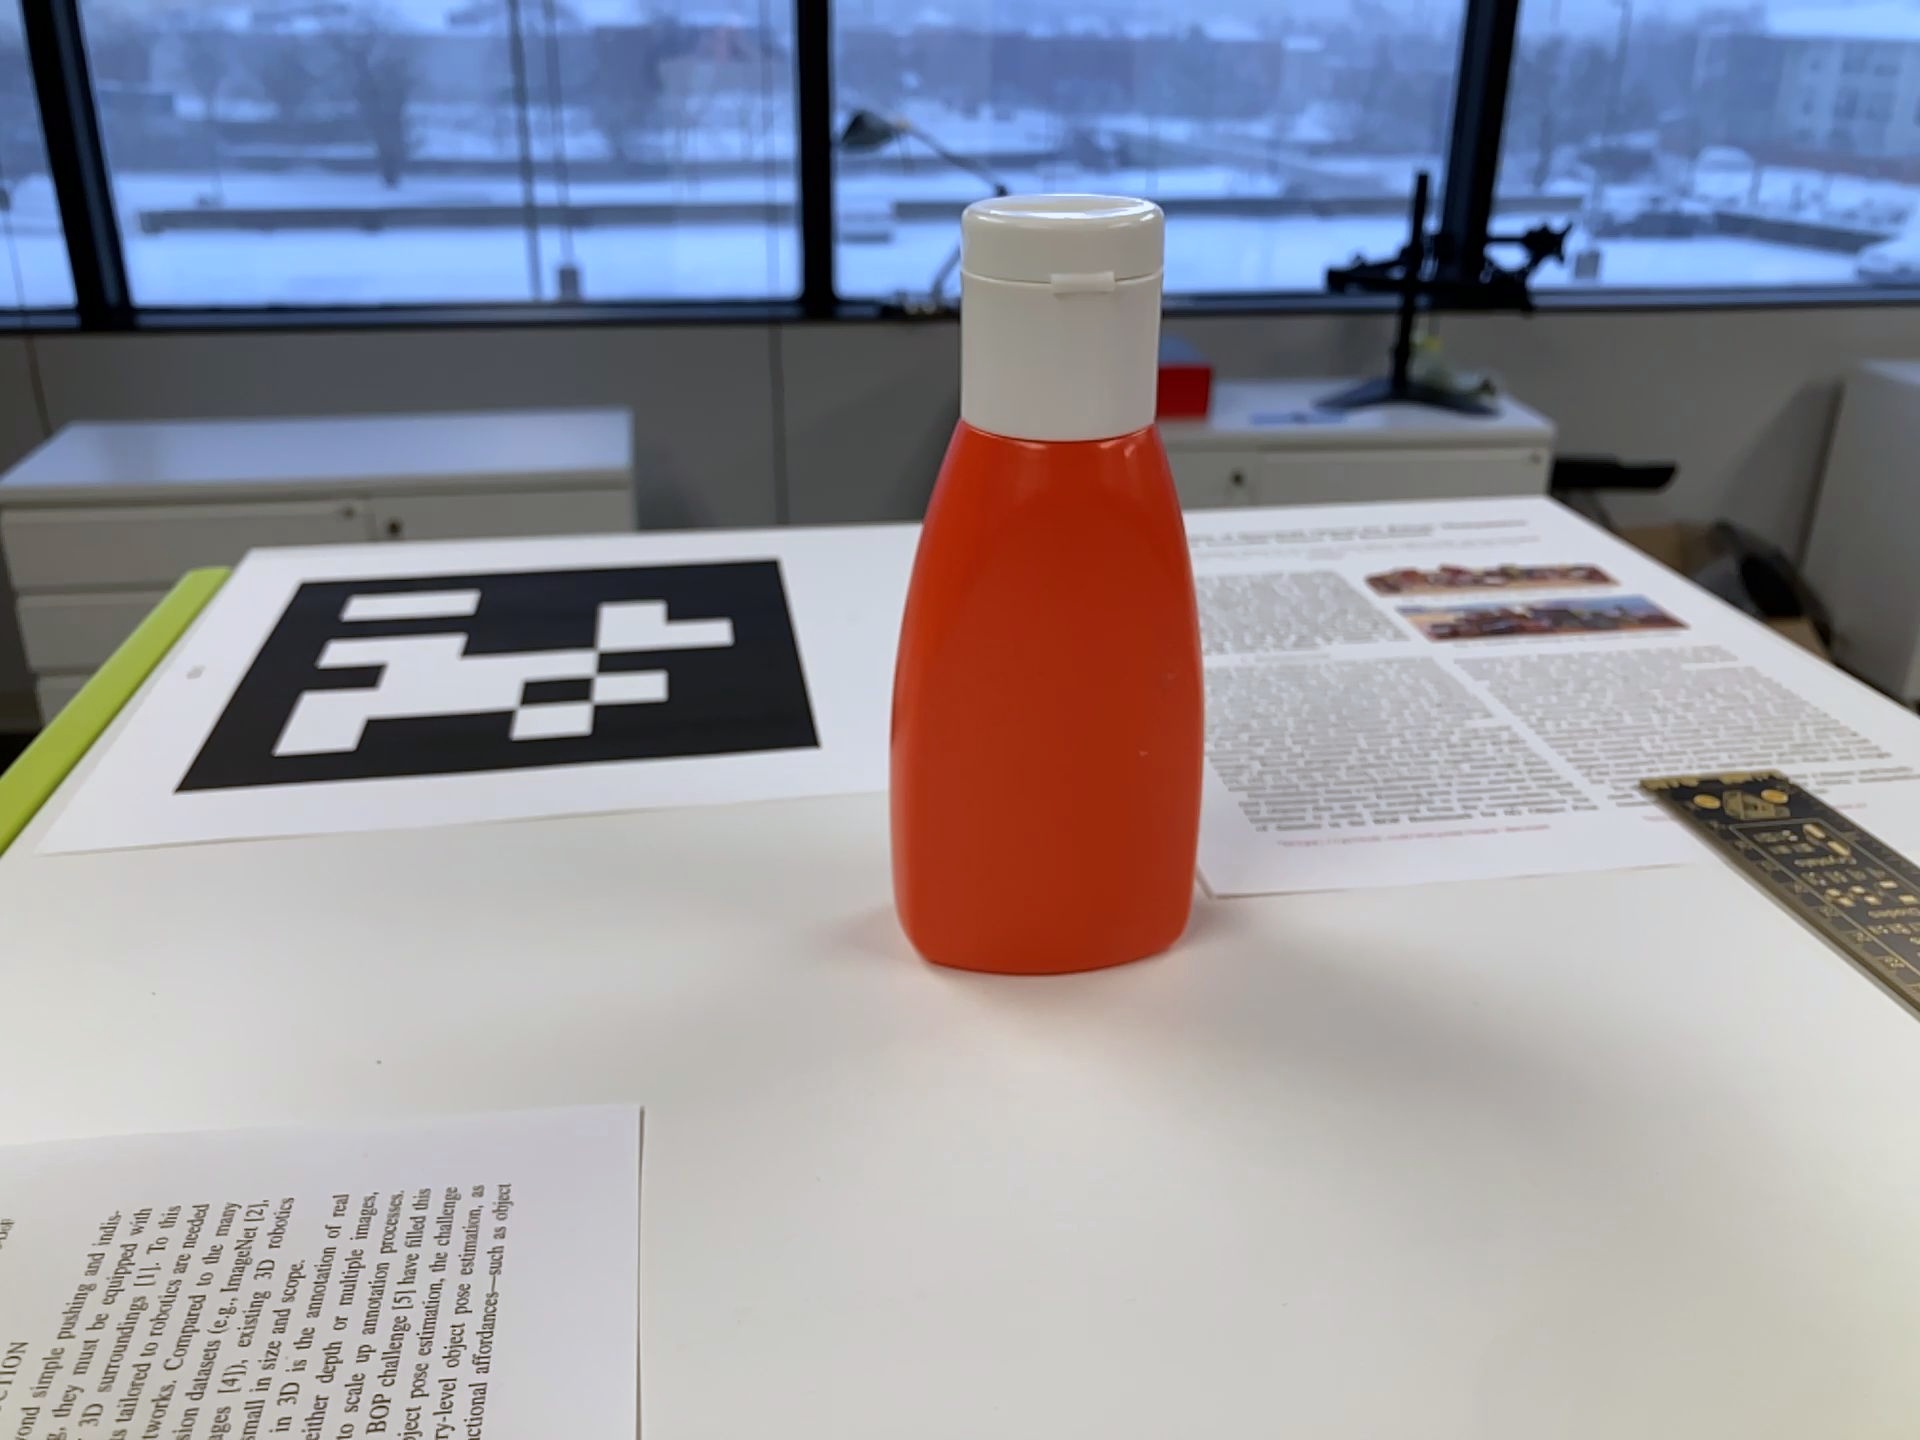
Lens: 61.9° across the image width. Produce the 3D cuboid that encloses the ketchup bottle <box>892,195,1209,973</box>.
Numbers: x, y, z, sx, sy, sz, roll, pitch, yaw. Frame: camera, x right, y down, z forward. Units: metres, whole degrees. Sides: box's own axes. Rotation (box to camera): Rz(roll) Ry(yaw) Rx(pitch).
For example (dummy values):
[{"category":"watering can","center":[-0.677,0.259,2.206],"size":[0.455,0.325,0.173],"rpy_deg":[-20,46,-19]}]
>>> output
[{"category":"ketchup bottle","center":[0.018,-0.023,0.314],"size":[0.065,0.149,0.043],"rpy_deg":[-3,25,-7]}]
